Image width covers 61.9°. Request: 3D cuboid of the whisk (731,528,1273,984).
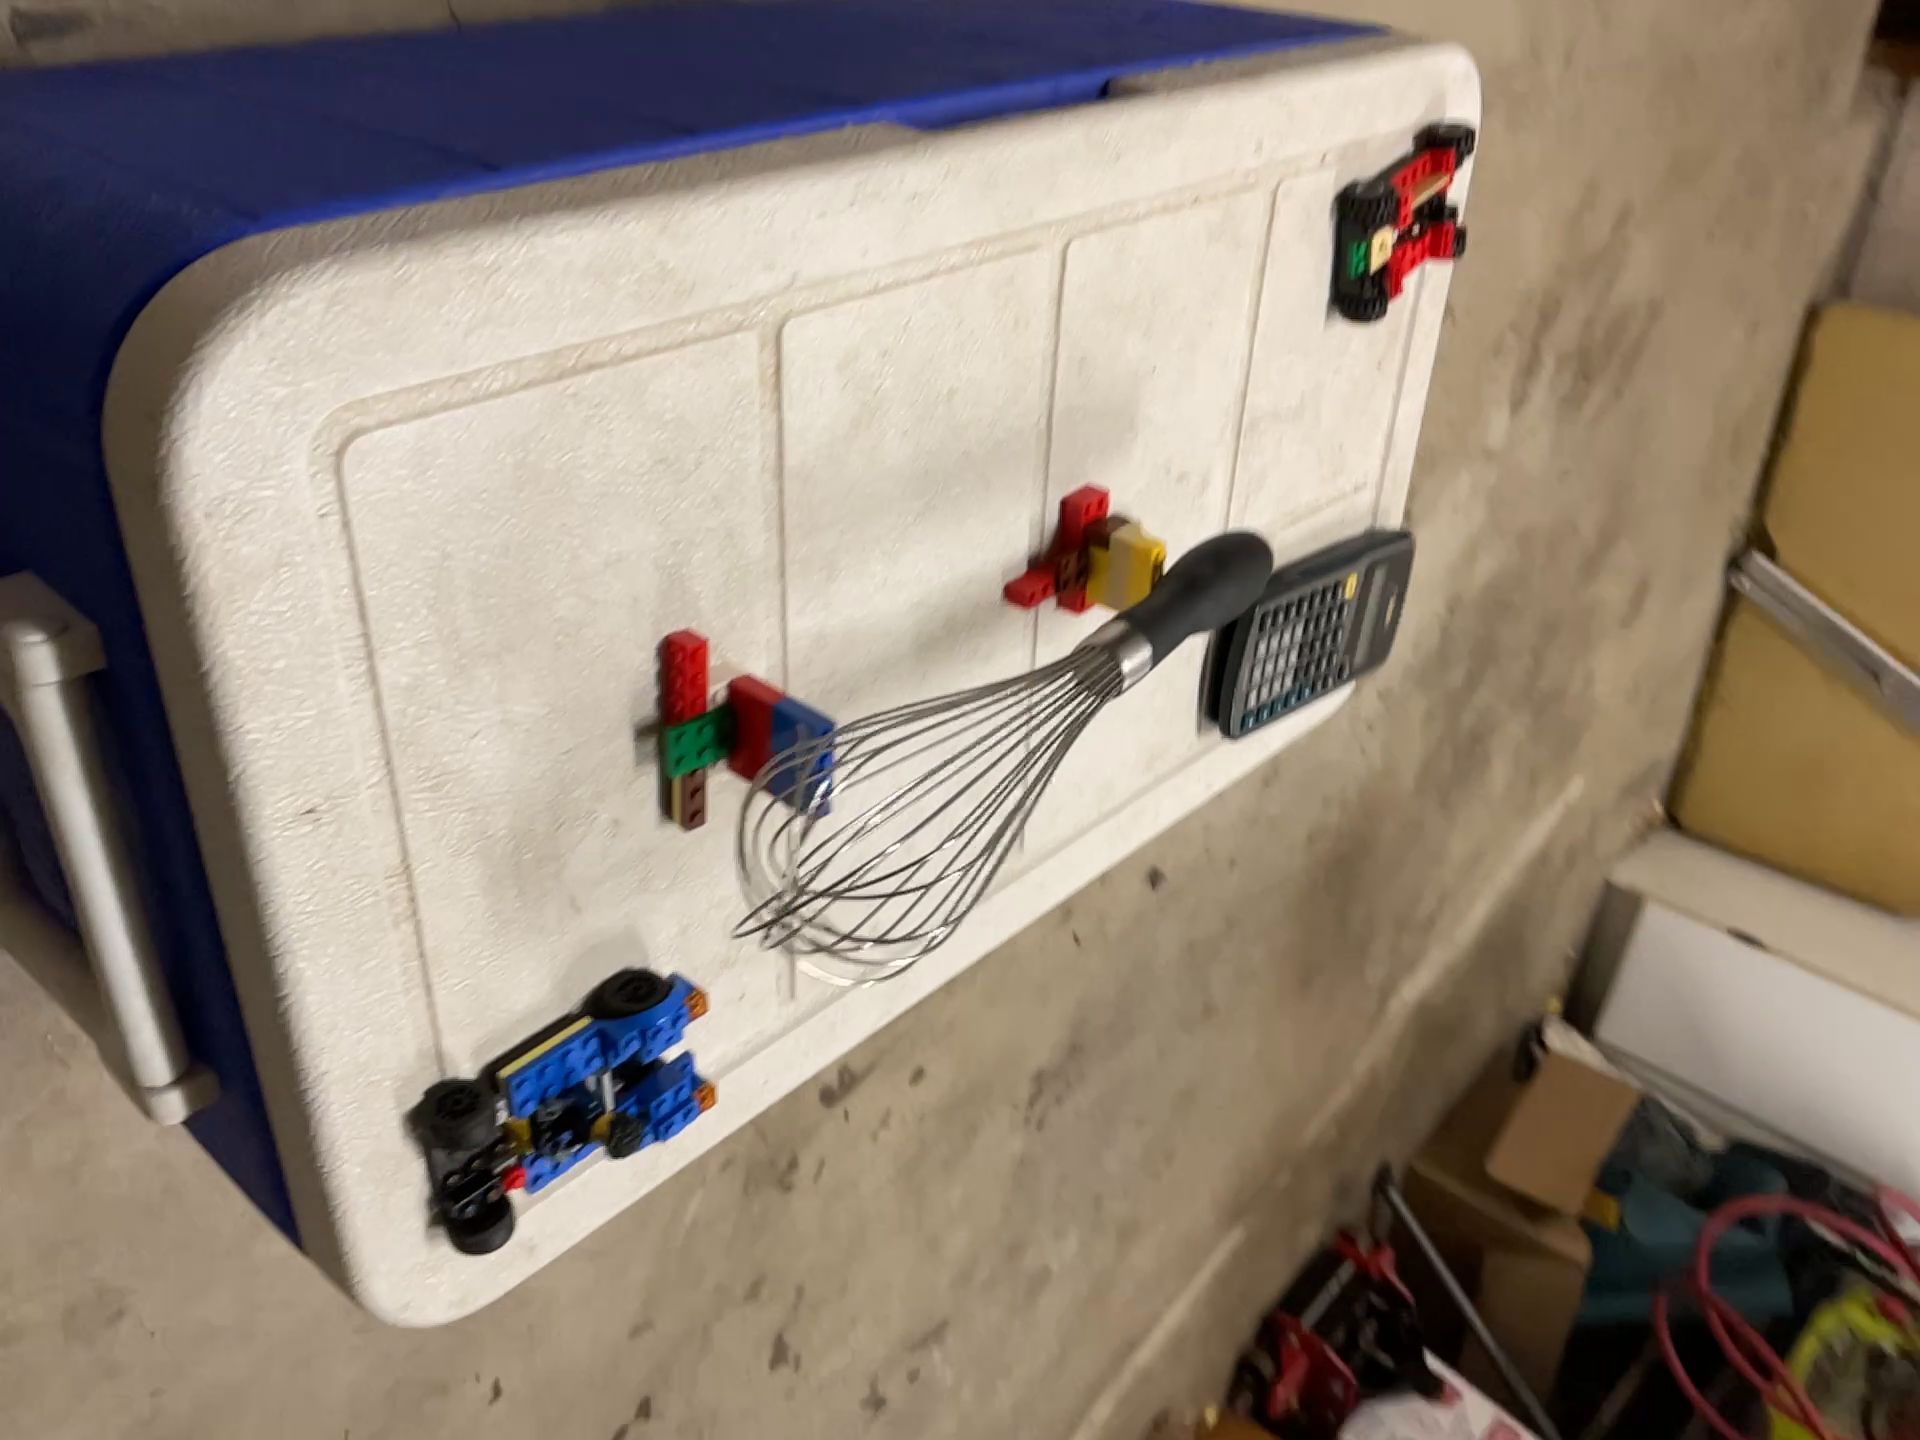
[{"bbox_3d":[0.031,-0.006,0.505,0.285,0.070,0.070,-36,133,-44],"label":"whisk"}]
